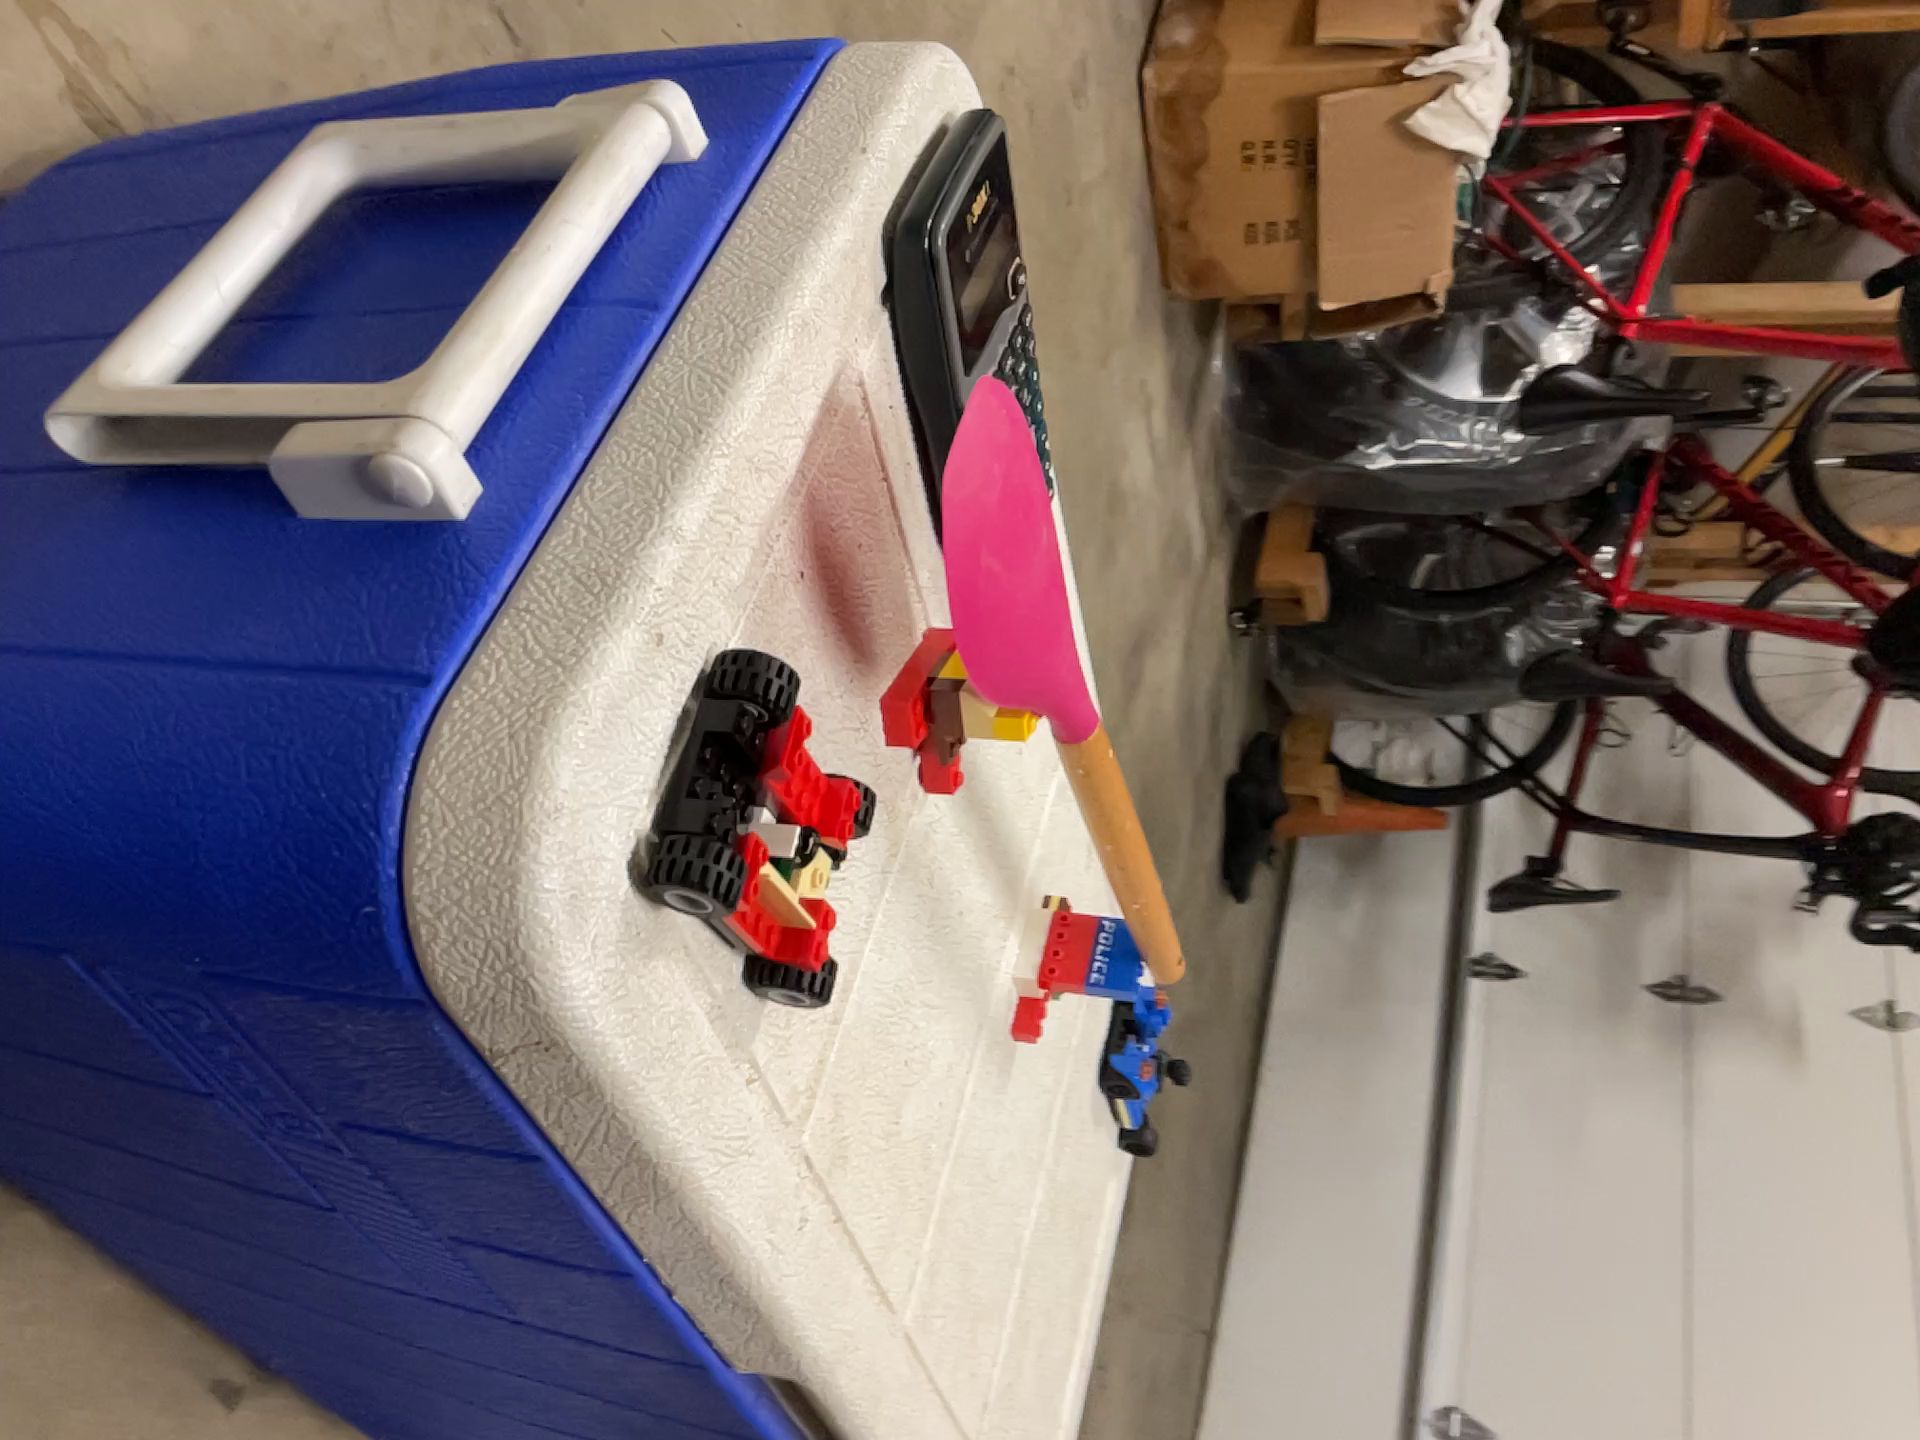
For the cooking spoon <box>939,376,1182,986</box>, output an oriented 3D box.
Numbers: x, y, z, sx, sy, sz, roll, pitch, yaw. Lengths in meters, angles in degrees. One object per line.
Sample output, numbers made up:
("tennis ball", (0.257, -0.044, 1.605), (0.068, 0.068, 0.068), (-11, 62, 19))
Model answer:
("cooking spoon", (0.041, 0.015, 0.509), (0.318, 0.017, 0.069), (65, 38, -54))
